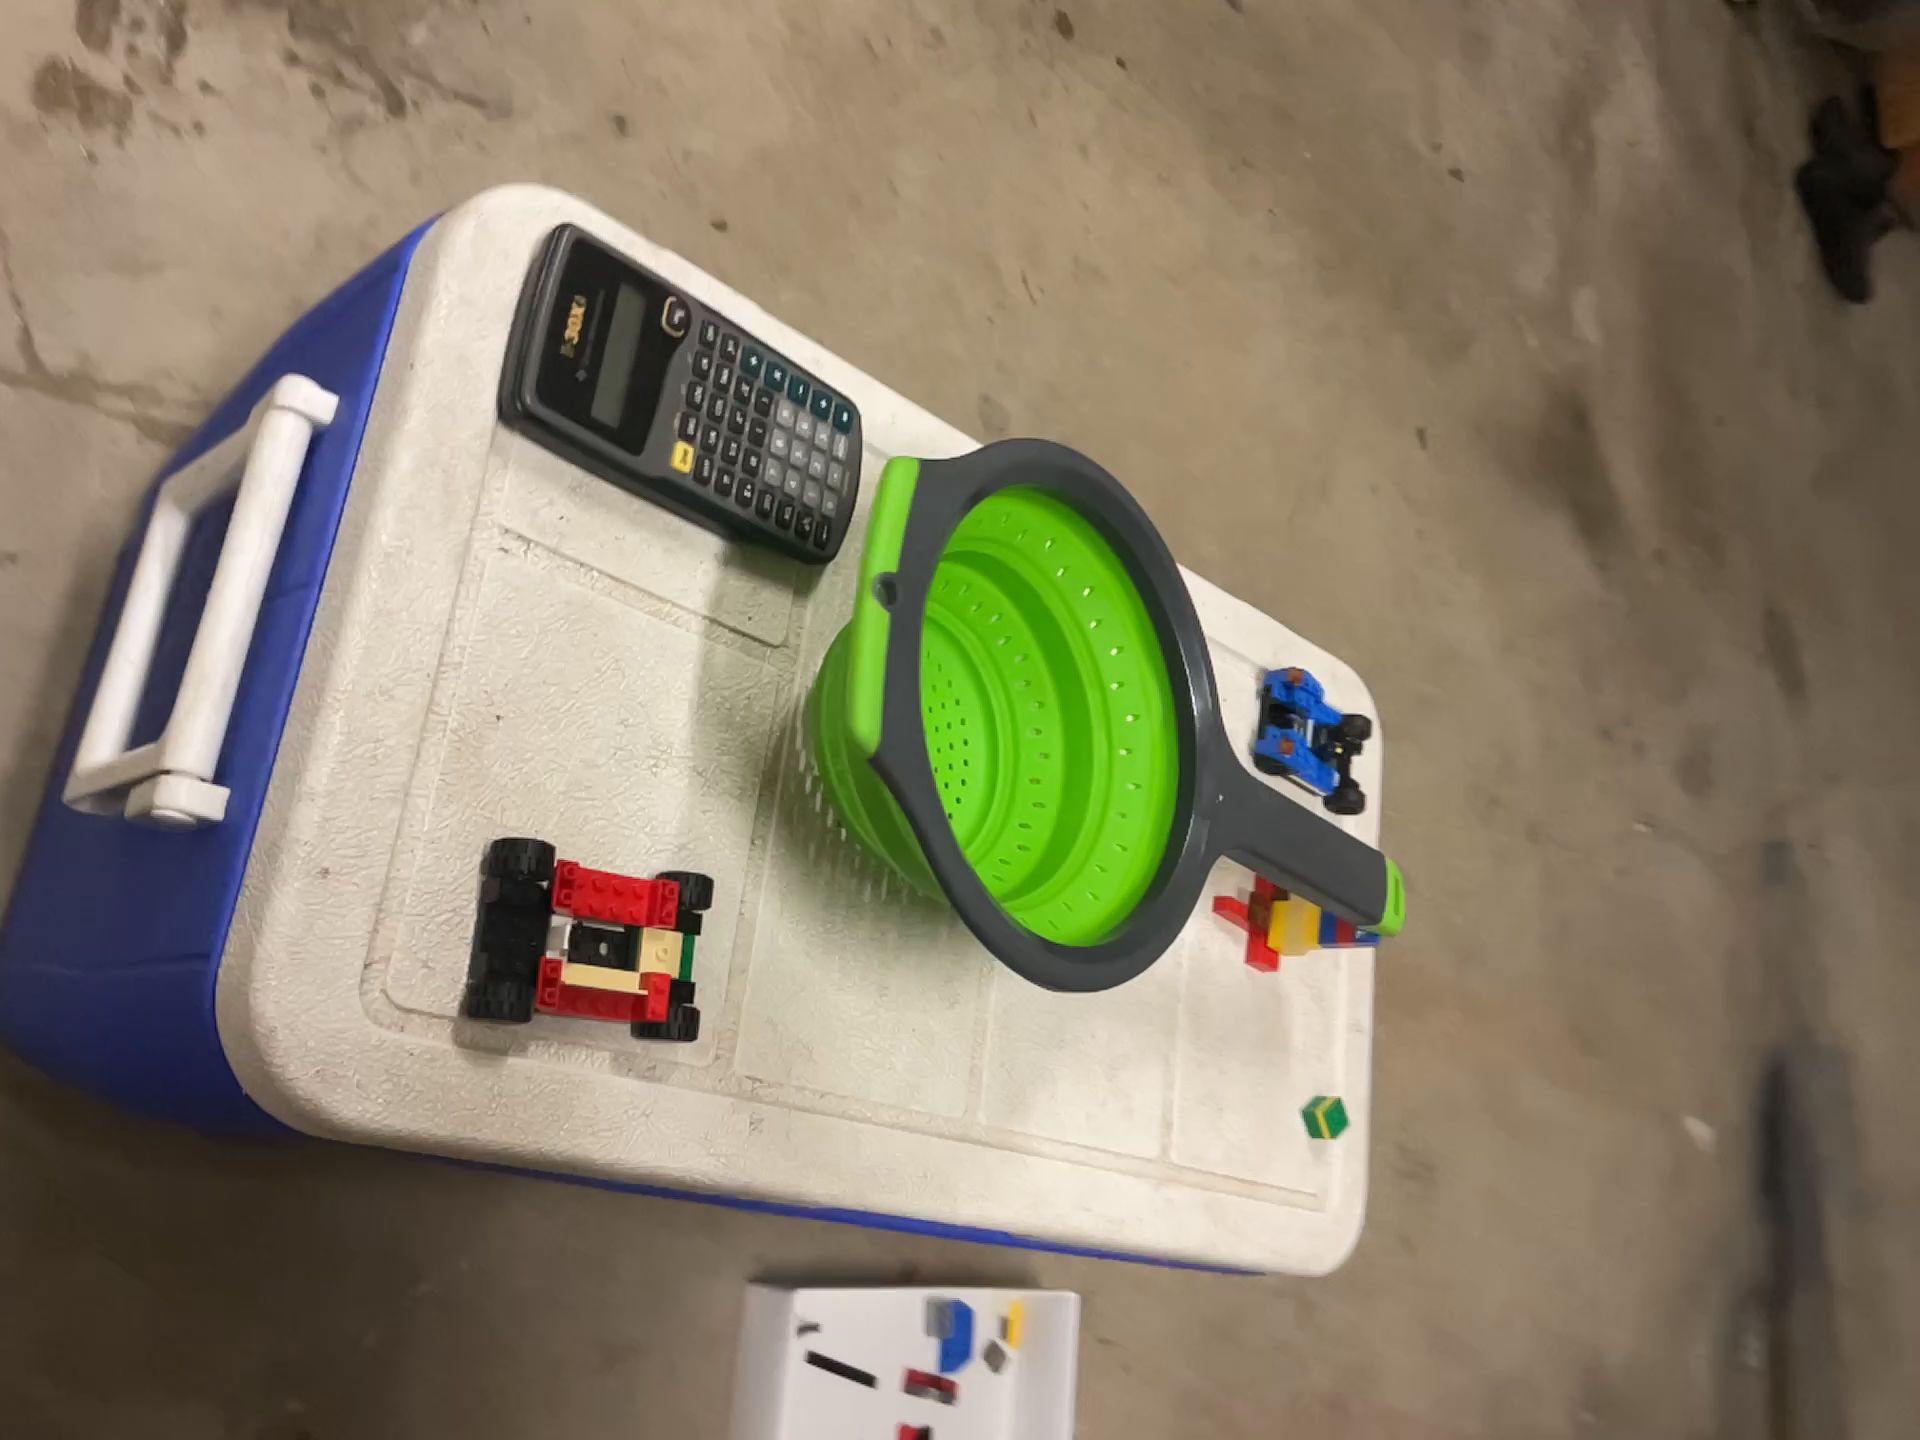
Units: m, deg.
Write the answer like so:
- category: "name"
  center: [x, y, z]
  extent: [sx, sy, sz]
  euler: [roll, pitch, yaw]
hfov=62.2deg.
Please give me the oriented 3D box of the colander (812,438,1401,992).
- category: "colander"
  center: [0.063, 0.031, 0.669]
  extent: [0.397, 0.094, 0.205]
  euler: [29, 59, -44]
